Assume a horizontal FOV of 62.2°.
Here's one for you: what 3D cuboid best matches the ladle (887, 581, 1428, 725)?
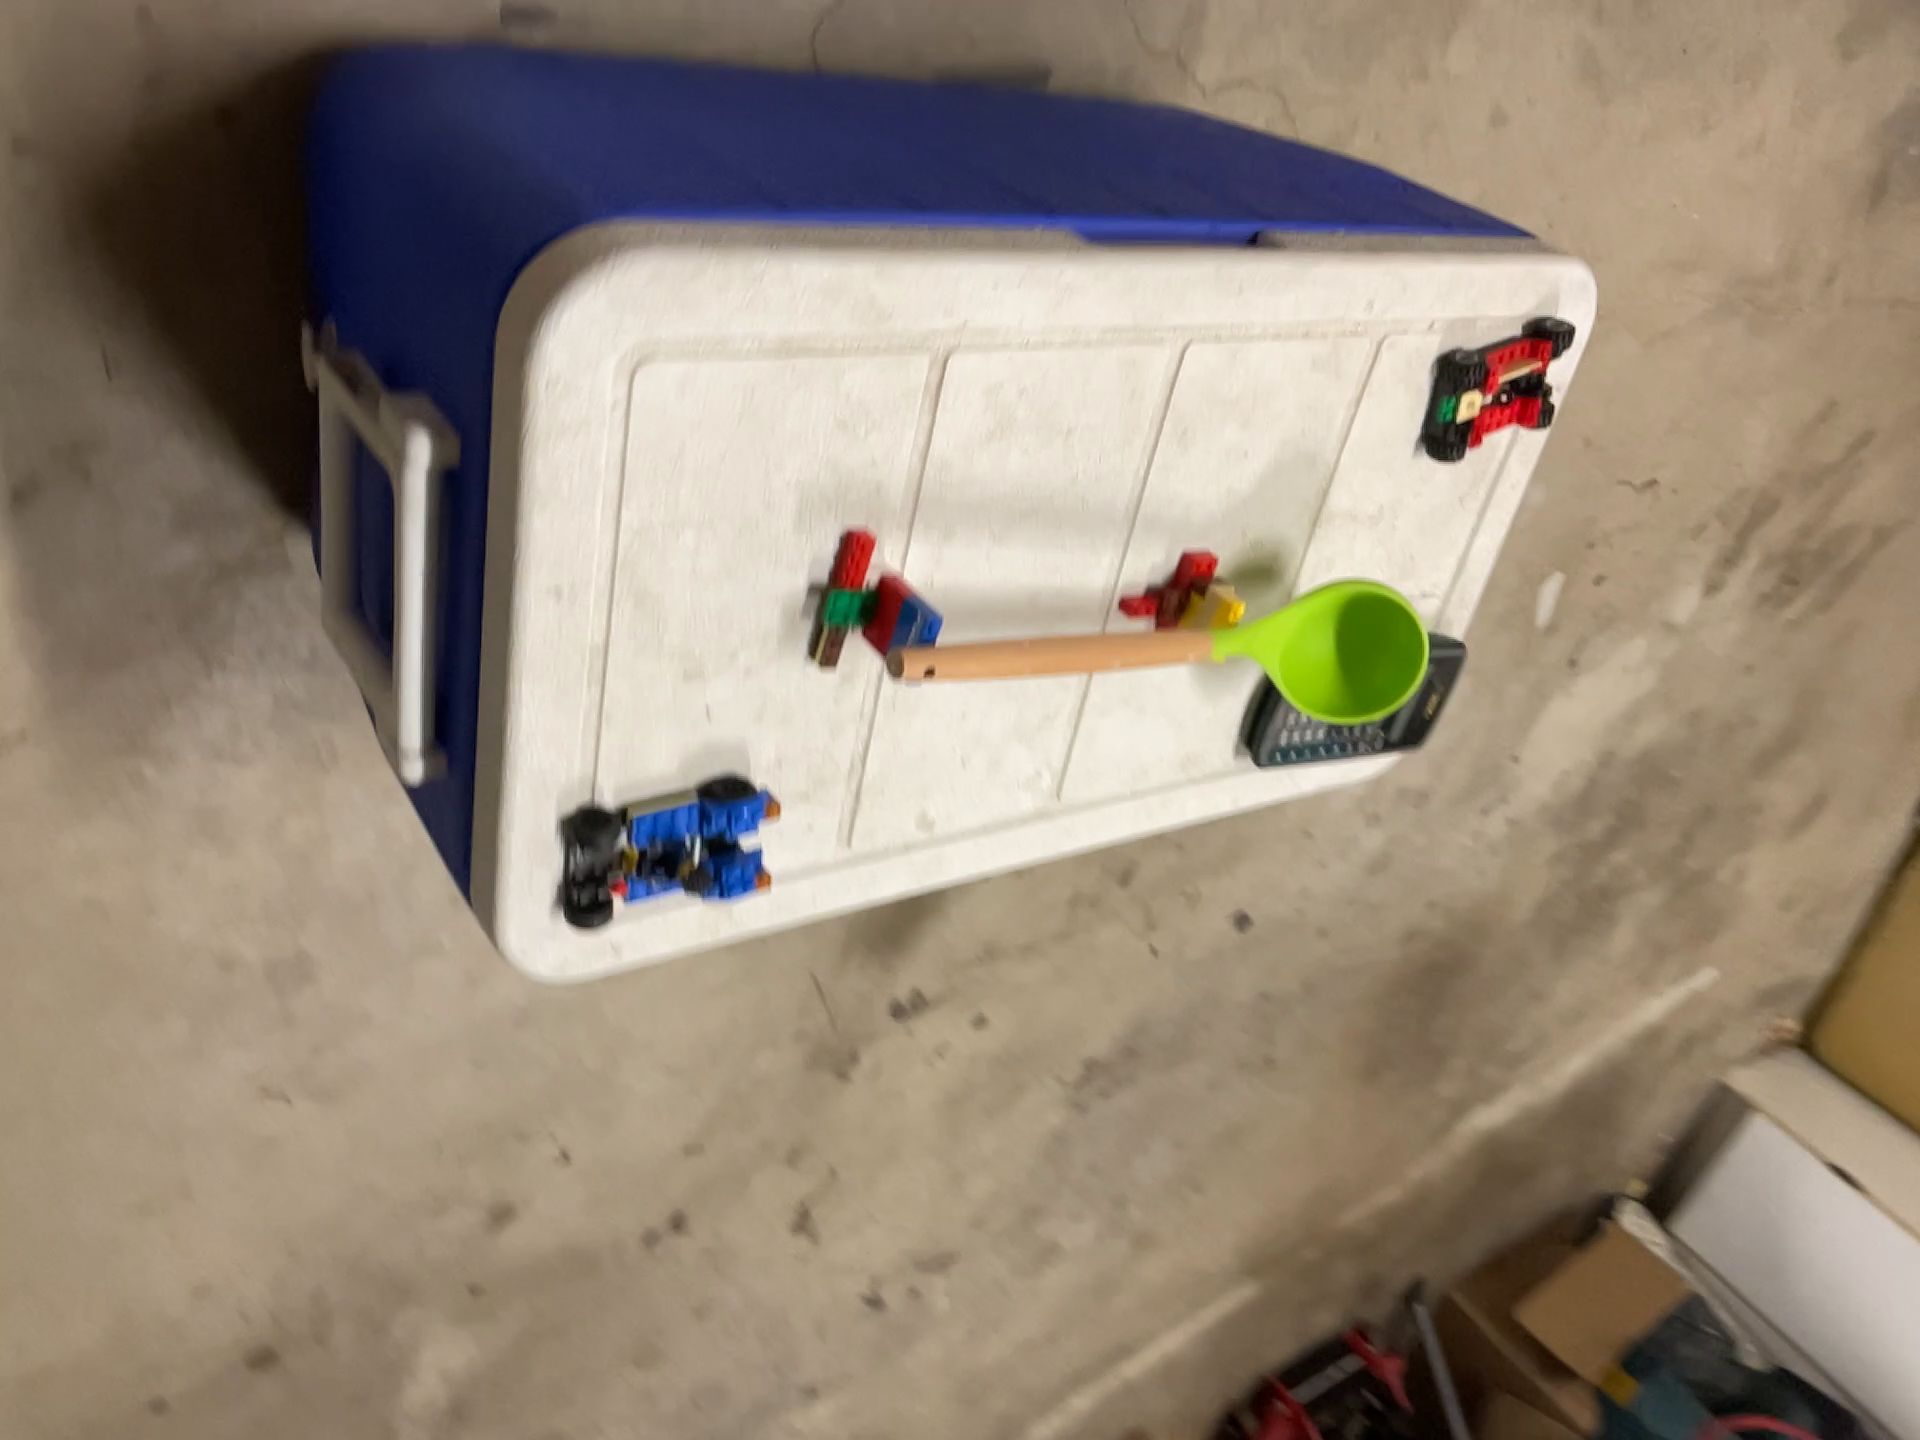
[{"bbox_3d":[0.103,-0.028,0.742,0.320,0.062,0.078,-5,126,-39],"label":"ladle"}]
